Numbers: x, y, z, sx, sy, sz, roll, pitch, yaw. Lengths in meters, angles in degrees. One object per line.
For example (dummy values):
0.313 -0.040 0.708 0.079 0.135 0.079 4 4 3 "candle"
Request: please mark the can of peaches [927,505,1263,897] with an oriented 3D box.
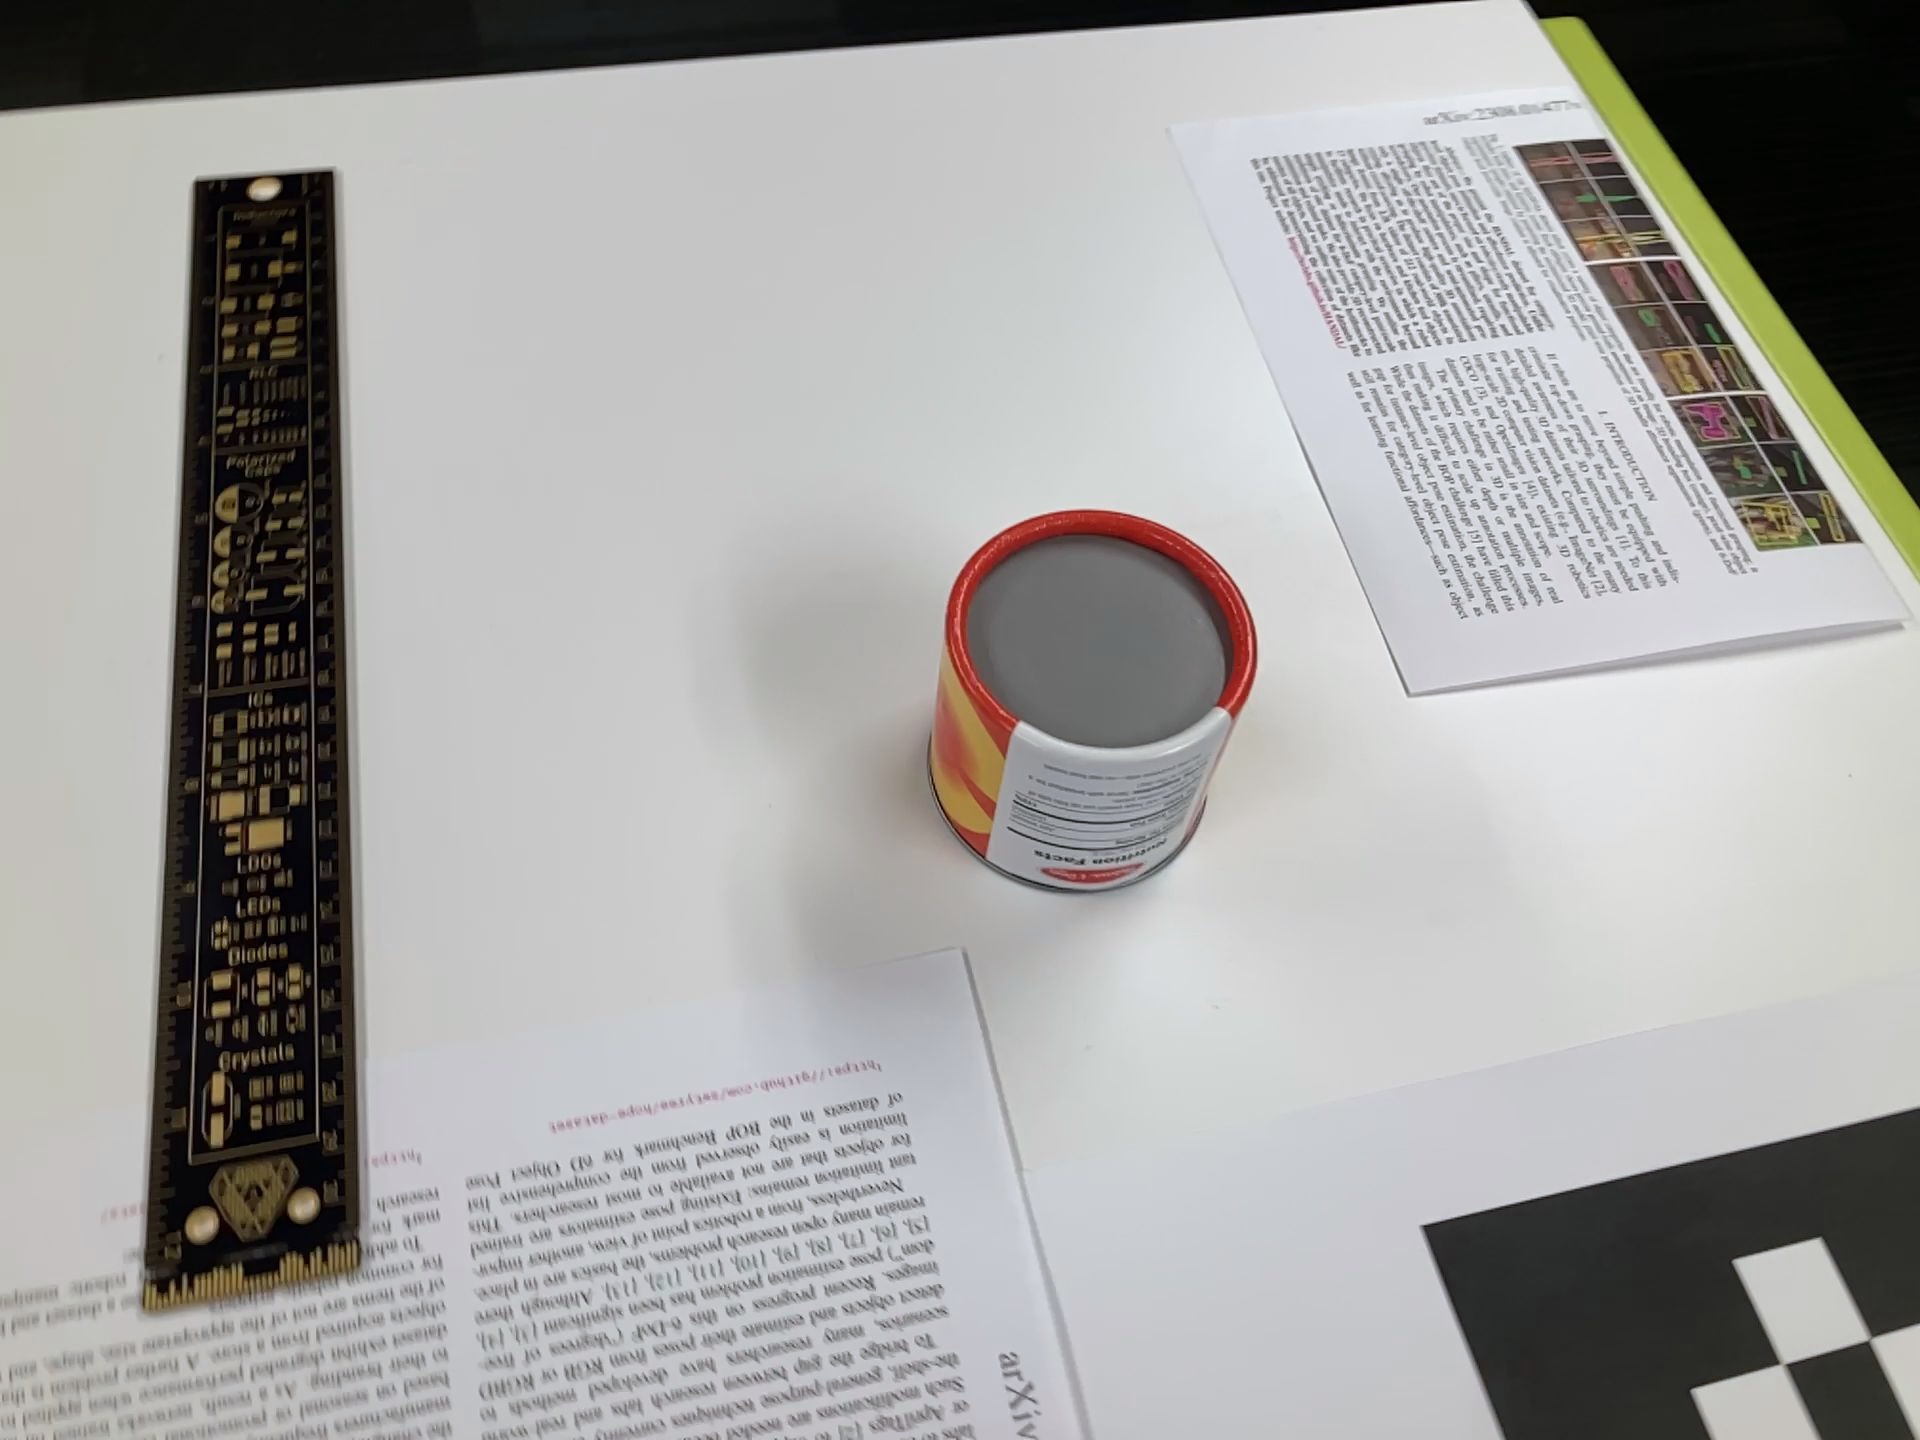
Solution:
0.027 -0.006 0.345 0.071 0.058 0.071 2 58 -3 "can of peaches"
